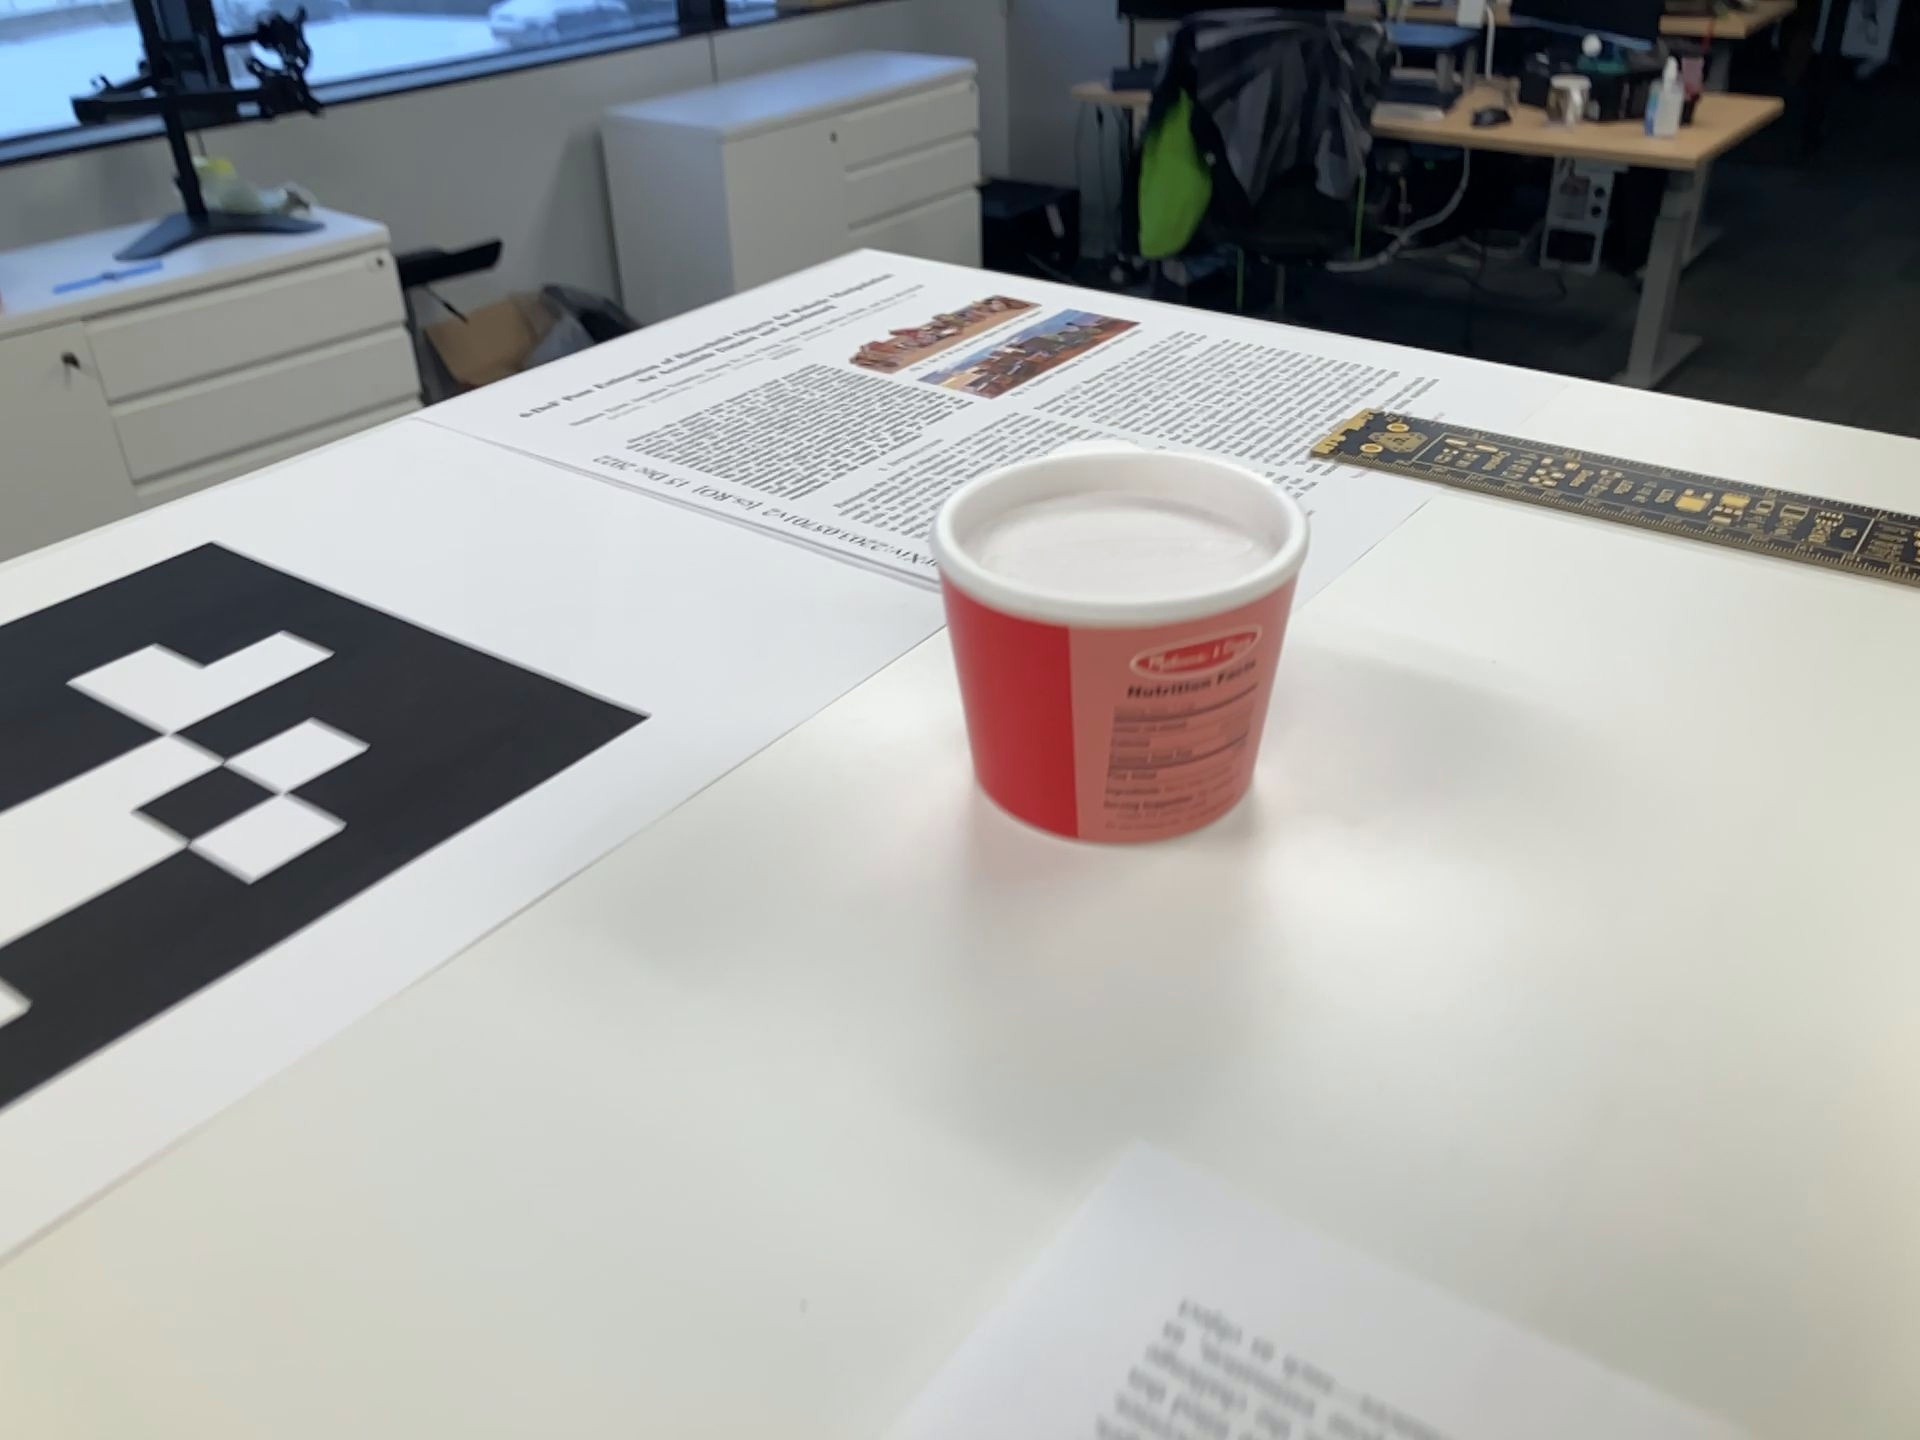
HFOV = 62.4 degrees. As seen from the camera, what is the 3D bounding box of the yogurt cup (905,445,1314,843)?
[{"bbox_3d":[0.029,-0.014,0.296,0.072,0.054,0.072,-1,33,1],"label":"yogurt cup"}]
